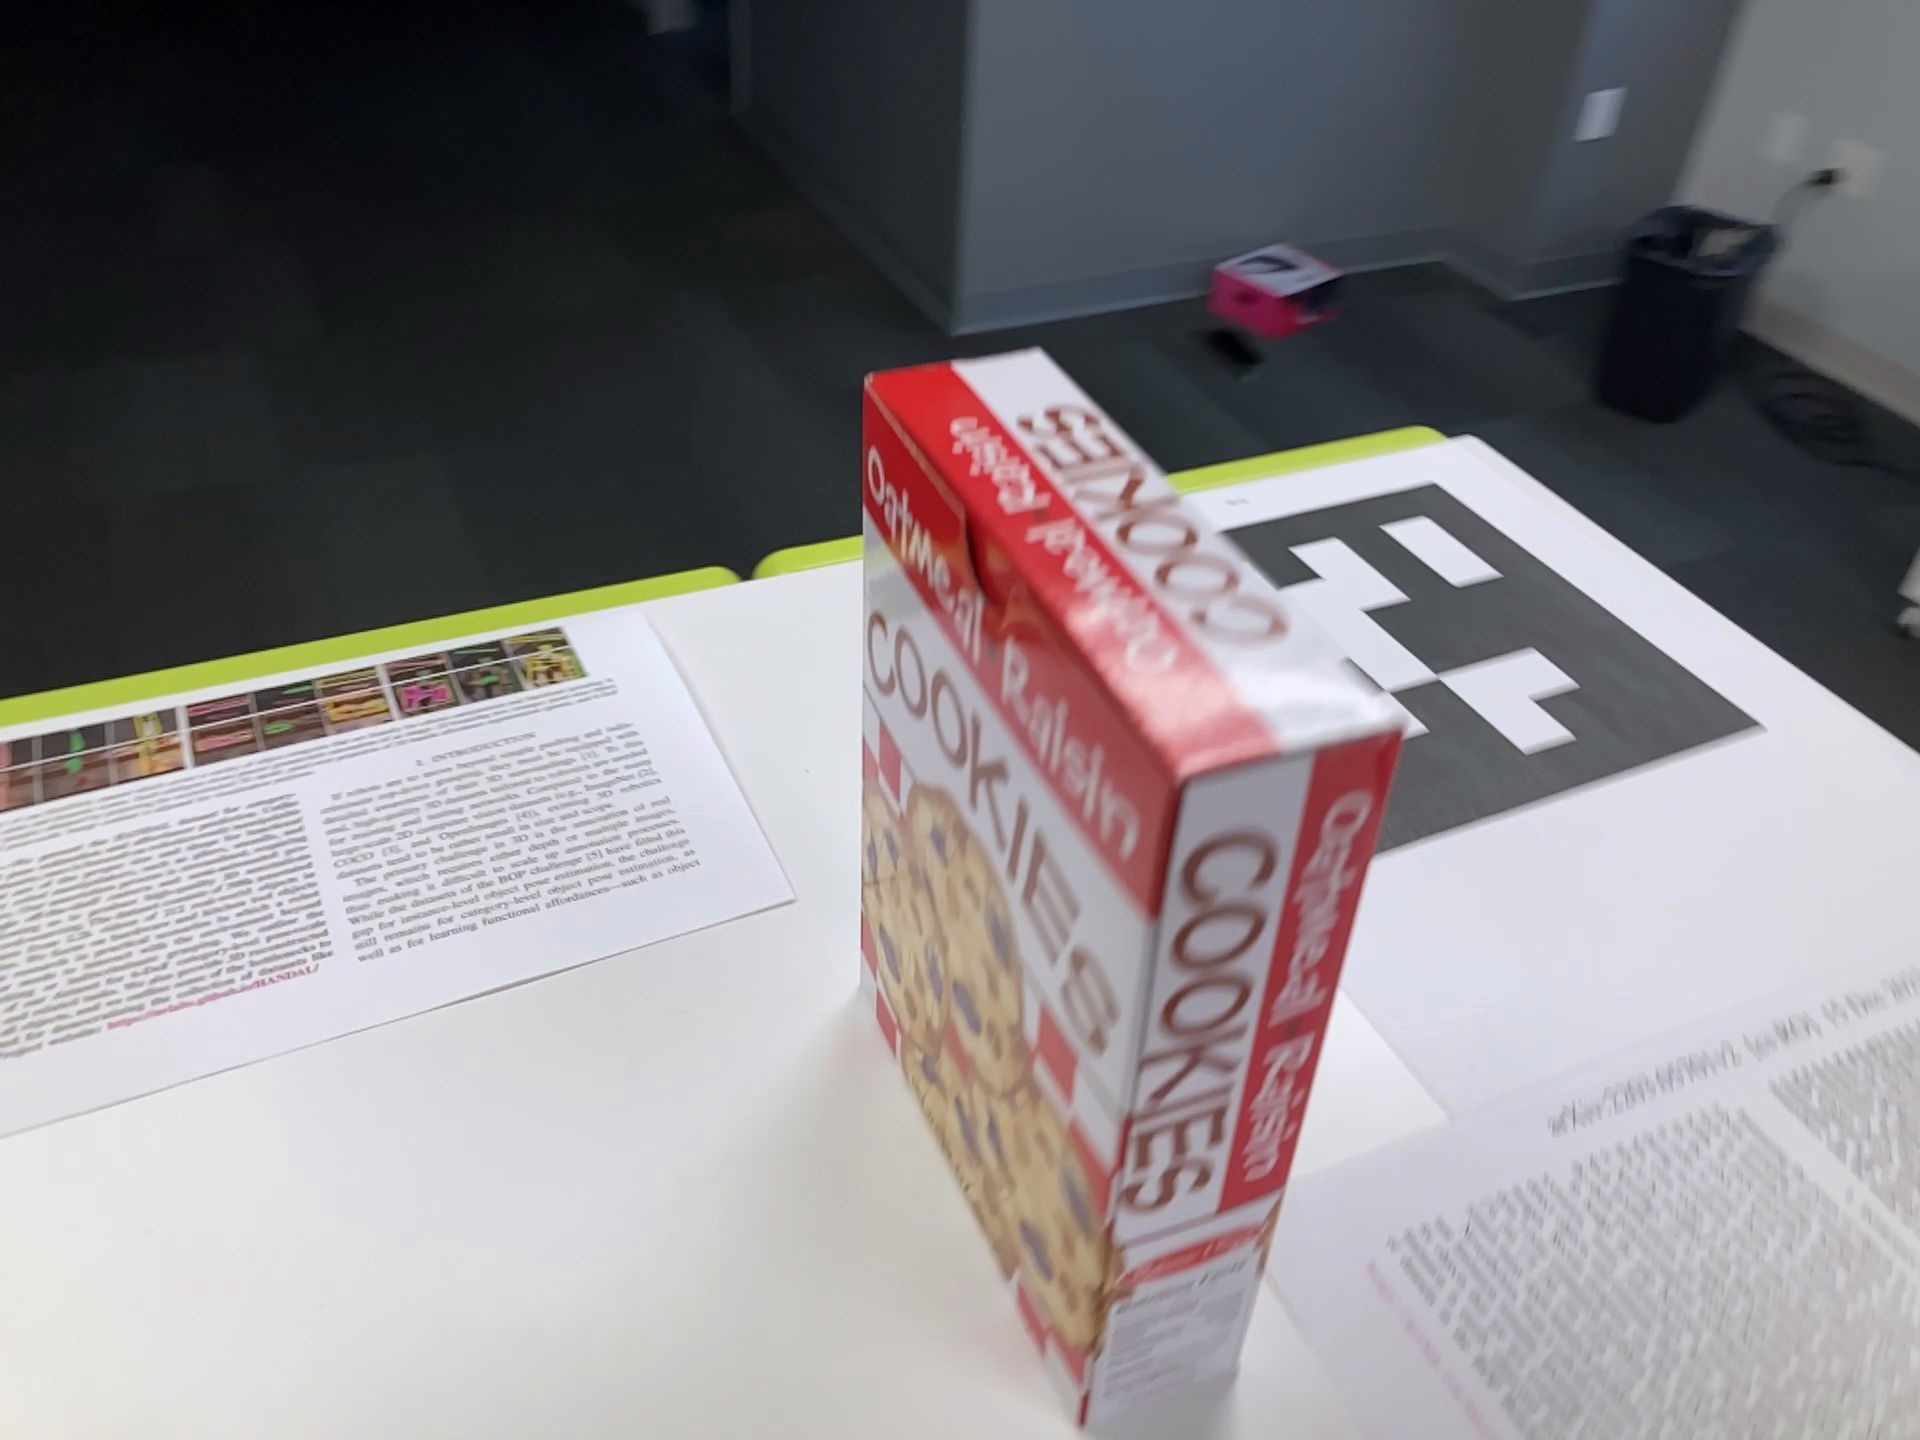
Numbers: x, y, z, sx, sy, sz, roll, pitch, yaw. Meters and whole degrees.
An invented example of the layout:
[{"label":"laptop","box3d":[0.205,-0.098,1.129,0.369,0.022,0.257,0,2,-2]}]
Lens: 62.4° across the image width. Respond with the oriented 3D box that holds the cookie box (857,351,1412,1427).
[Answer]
[{"label":"cookie box","box3d":[0.018,0.032,0.303,0.040,0.167,0.123,-13,41,-19]}]
